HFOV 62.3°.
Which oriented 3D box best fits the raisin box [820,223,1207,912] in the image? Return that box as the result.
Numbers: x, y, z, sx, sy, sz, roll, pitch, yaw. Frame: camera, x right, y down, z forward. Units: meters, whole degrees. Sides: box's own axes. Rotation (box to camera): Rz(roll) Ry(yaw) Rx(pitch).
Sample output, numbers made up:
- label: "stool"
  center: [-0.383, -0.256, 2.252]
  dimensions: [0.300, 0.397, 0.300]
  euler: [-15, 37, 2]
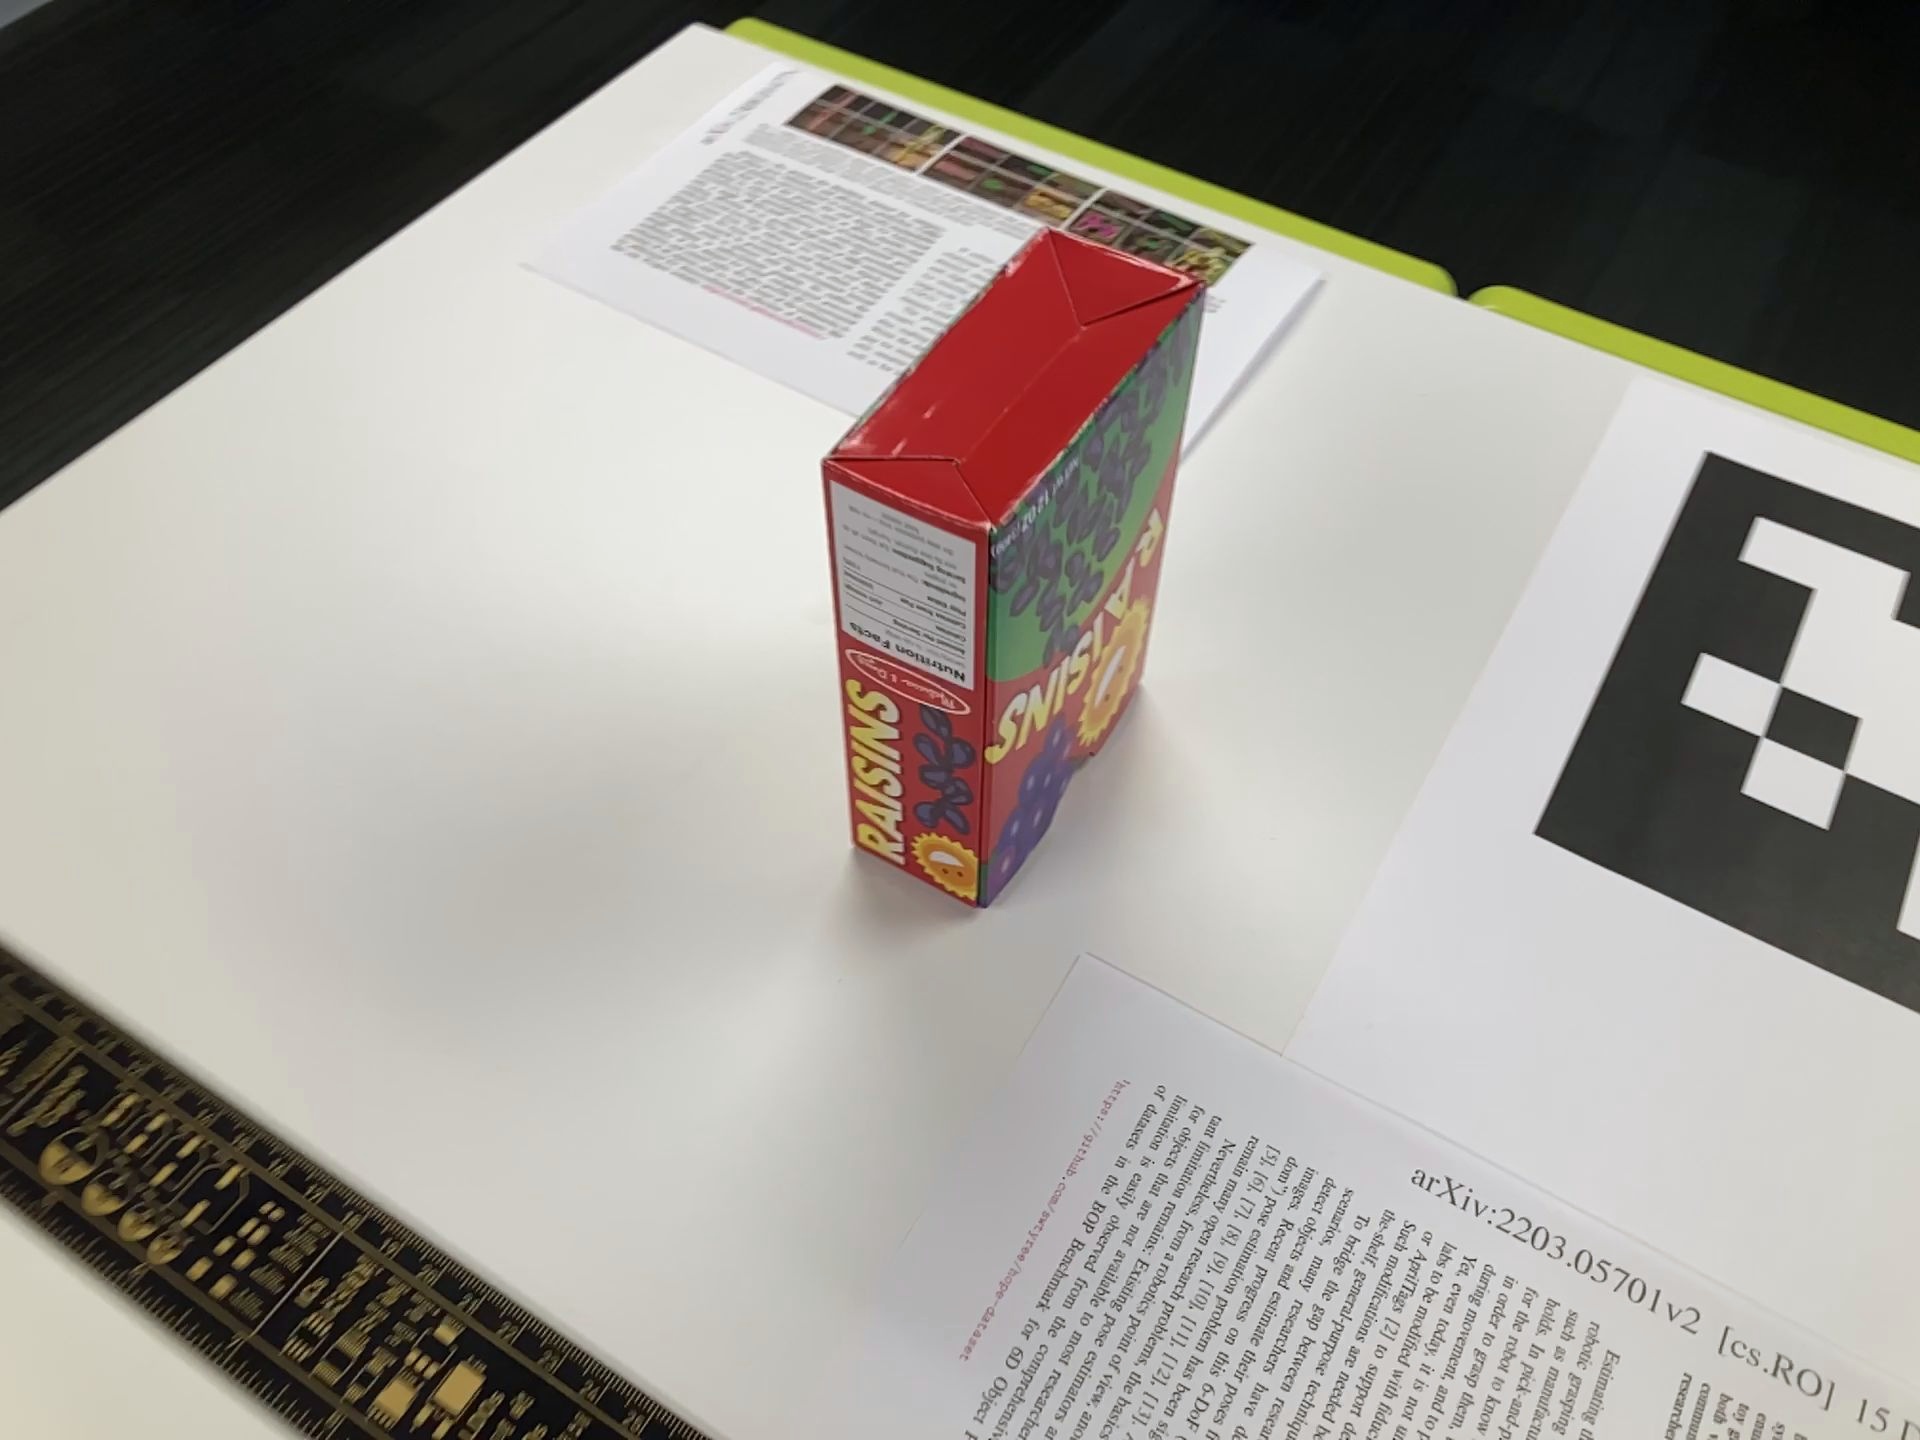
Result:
- label: "raisin box"
  center: [0.012, -0.028, 0.342]
  dimensions: [0.040, 0.123, 0.086]
  euler: [24, 55, 18]
